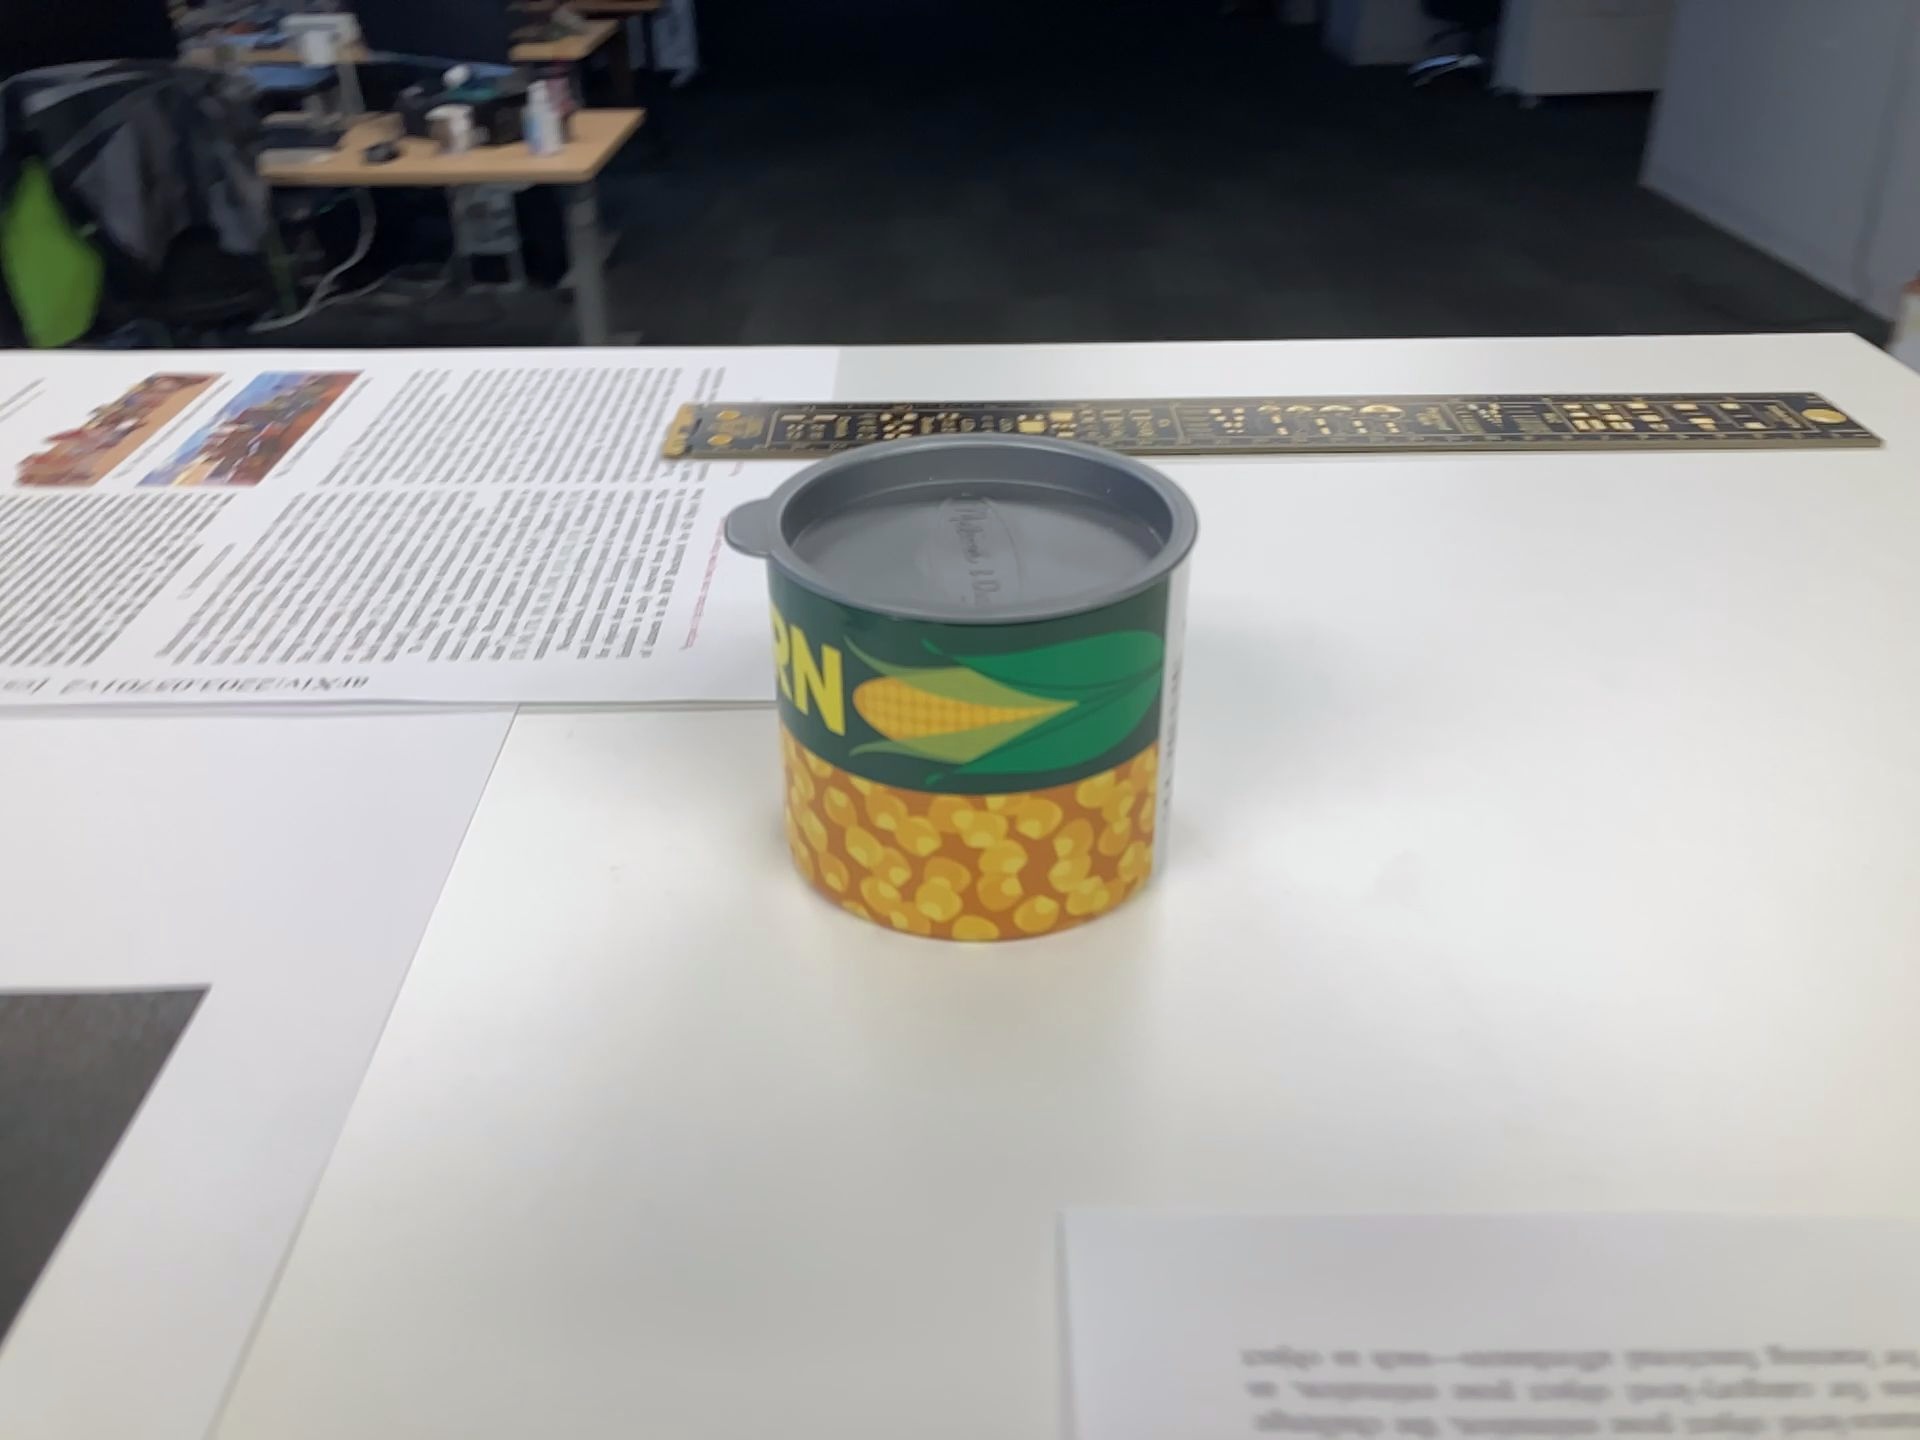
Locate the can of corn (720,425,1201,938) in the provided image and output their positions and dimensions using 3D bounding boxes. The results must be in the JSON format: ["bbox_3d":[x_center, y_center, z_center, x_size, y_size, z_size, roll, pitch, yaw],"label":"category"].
[{"bbox_3d":[0.000,-0.007,0.251,0.071,0.058,0.071,-1,31,0],"label":"can of corn"}]
